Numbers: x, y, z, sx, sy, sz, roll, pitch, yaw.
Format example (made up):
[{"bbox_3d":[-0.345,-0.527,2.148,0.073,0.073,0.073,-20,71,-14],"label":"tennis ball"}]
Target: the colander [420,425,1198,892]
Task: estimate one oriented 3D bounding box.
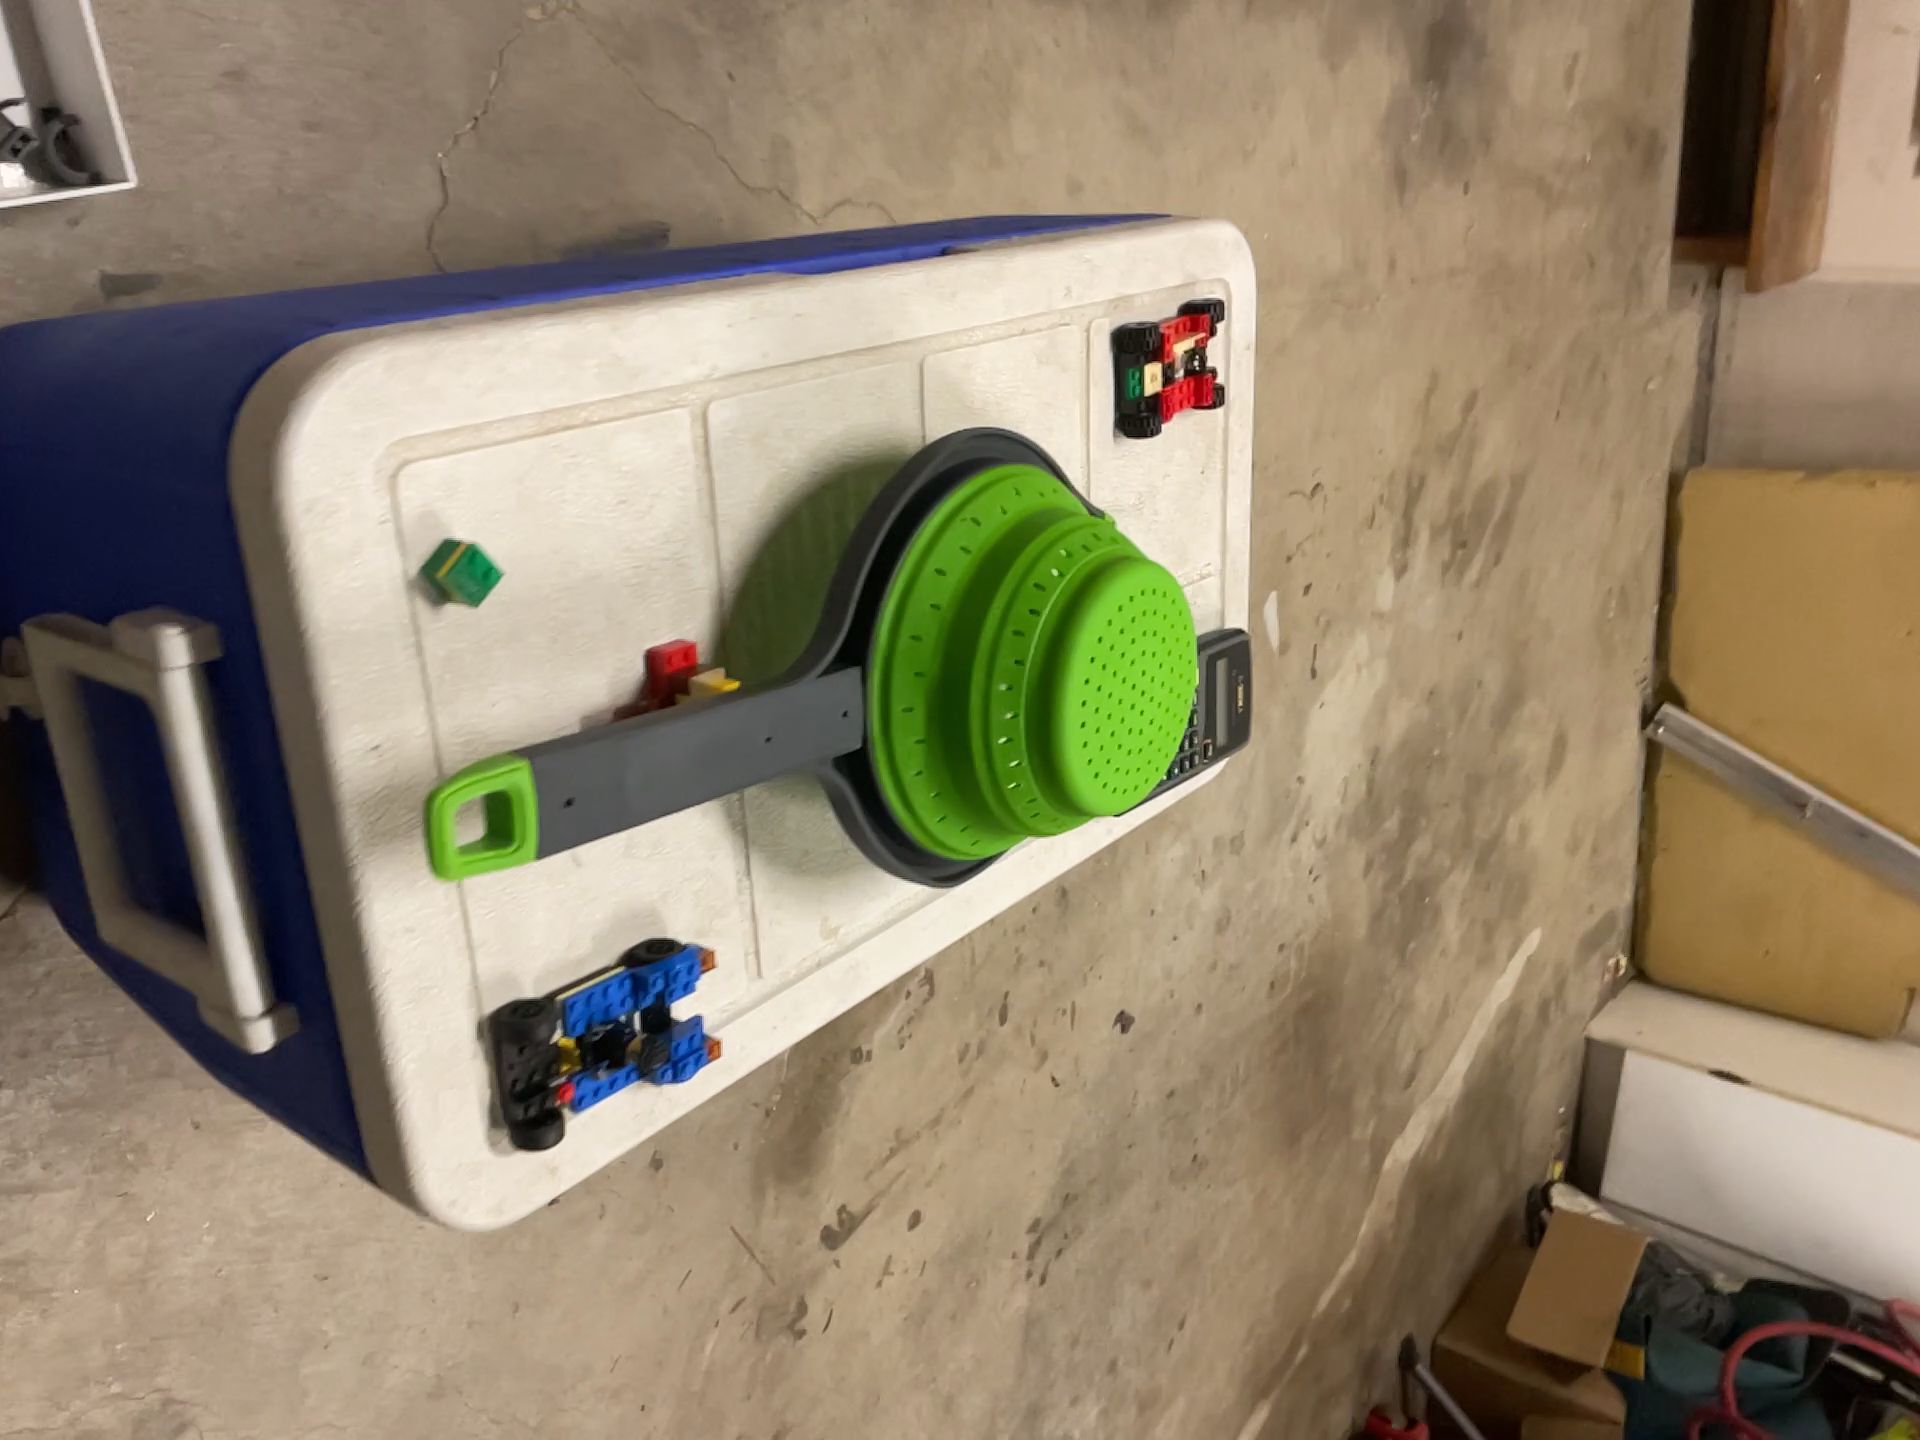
[{"bbox_3d":[-0.014,-0.001,0.616,0.397,0.094,0.204,-20,115,-49],"label":"colander"}]
